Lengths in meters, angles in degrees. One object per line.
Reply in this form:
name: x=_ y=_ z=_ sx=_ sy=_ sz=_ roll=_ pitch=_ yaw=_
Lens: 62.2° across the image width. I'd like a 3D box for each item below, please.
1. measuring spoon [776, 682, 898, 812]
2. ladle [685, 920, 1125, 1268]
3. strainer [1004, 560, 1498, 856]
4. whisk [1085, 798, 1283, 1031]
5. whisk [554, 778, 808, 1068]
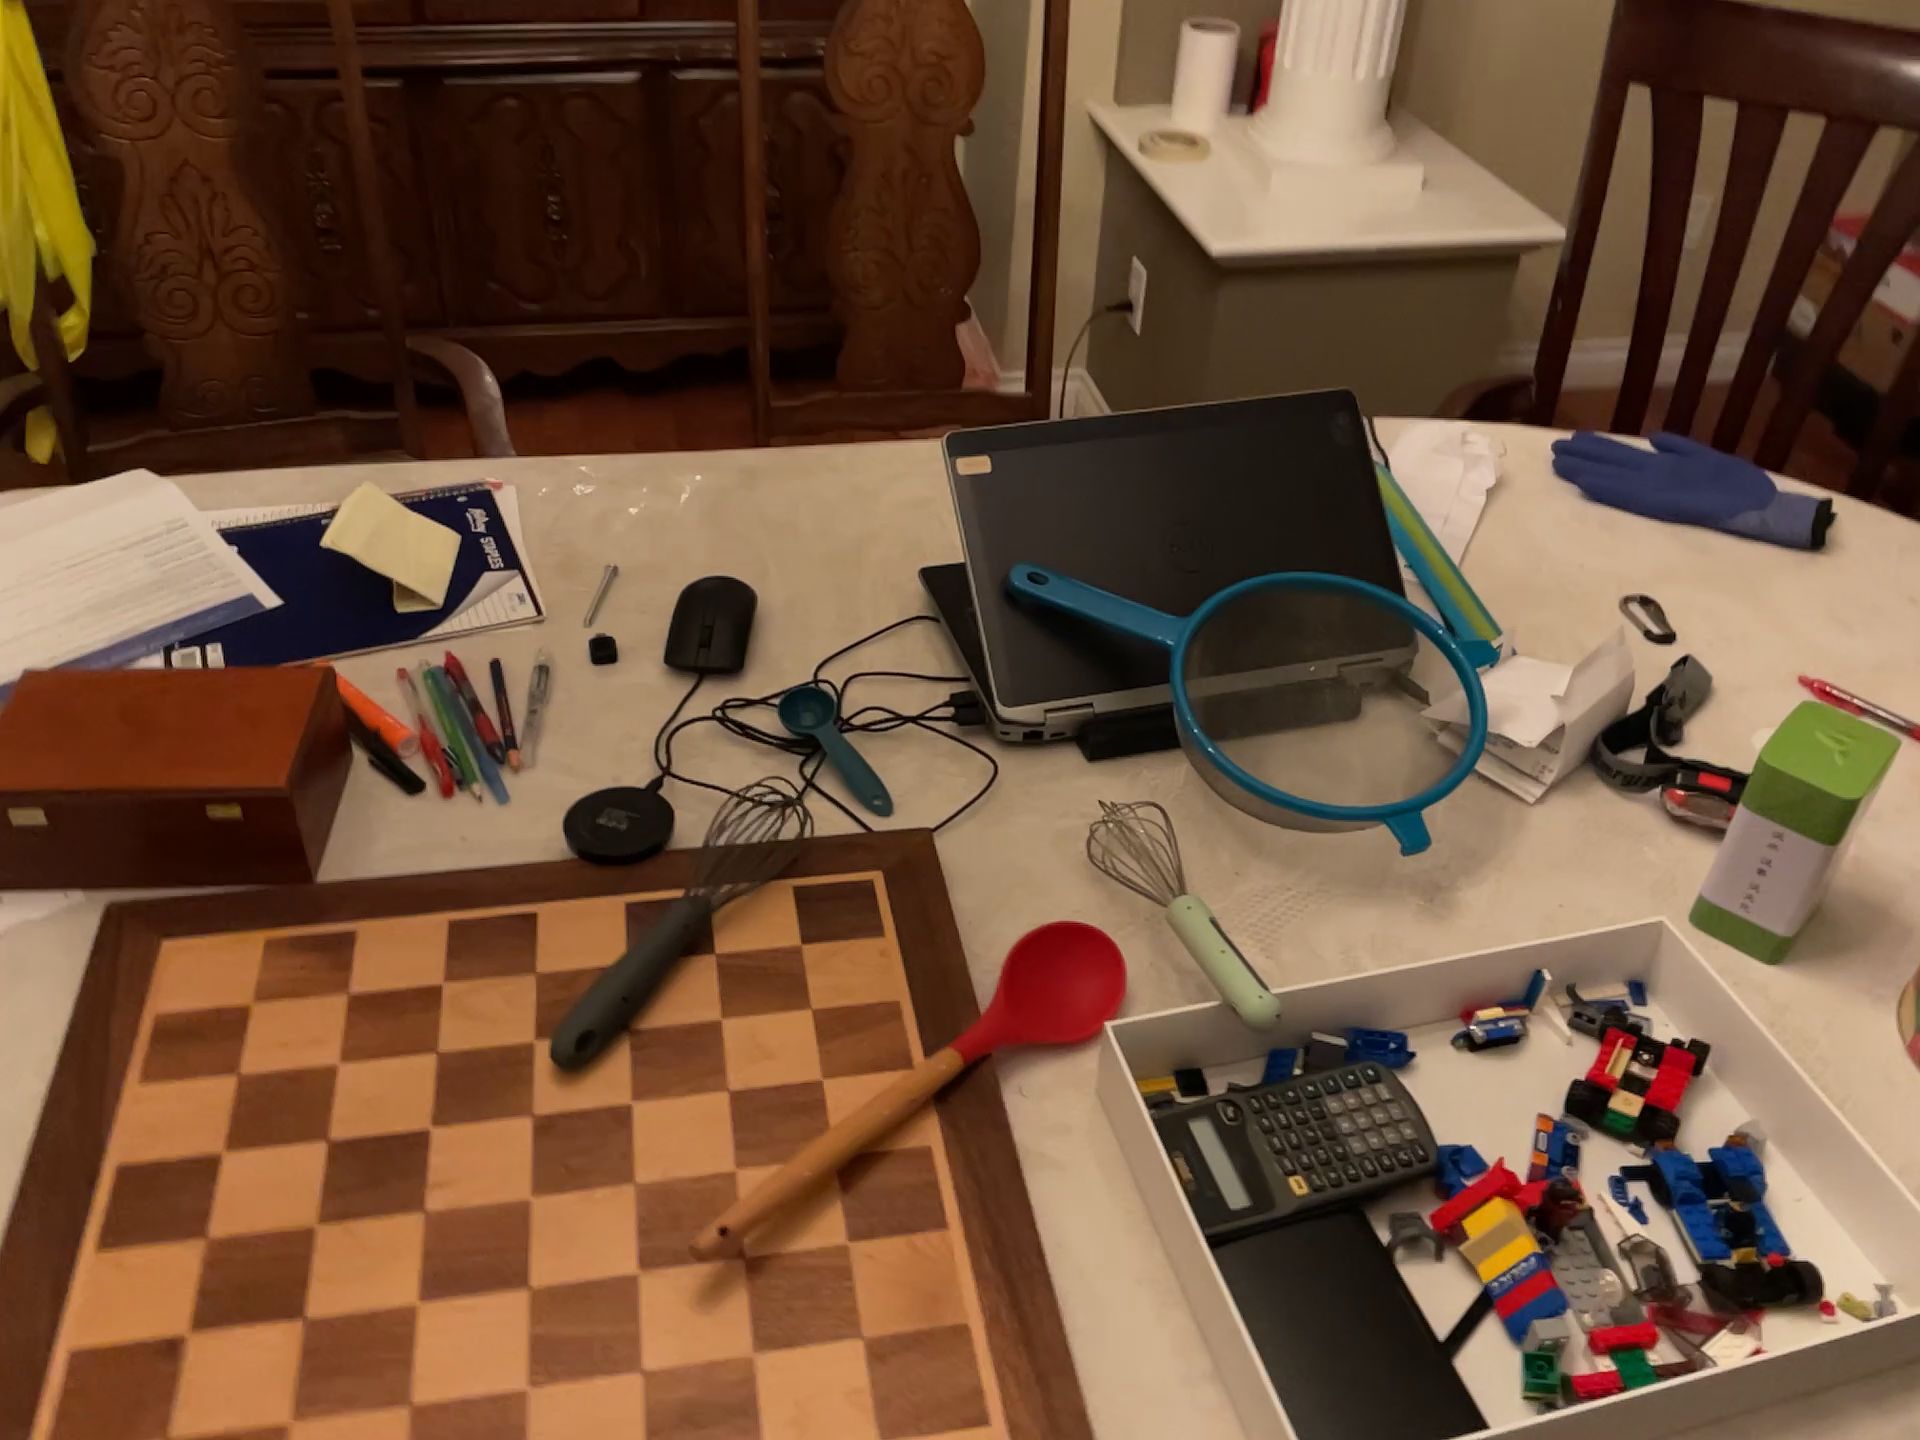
measuring spoon: x=-0.083 y=0.023 z=1.101 sx=0.042 sy=0.021 sz=0.129 roll=-29 pitch=59 yaw=-24
ladle: x=-0.021 y=0.196 z=0.847 sx=0.315 sy=0.031 sz=0.069 roll=-29 pitch=70 yaw=-41
strainer: x=0.184 y=-0.020 z=1.104 sx=0.340 sy=0.095 sz=0.211 roll=22 pitch=54 yaw=15
whisk: x=0.131 y=0.109 z=0.948 sx=0.059 sy=0.057 sz=0.247 roll=-34 pitch=29 yaw=0
whisk: x=-0.160 y=0.115 z=0.933 sx=0.055 sy=0.055 sz=0.239 roll=9 pitch=40 yaw=29
